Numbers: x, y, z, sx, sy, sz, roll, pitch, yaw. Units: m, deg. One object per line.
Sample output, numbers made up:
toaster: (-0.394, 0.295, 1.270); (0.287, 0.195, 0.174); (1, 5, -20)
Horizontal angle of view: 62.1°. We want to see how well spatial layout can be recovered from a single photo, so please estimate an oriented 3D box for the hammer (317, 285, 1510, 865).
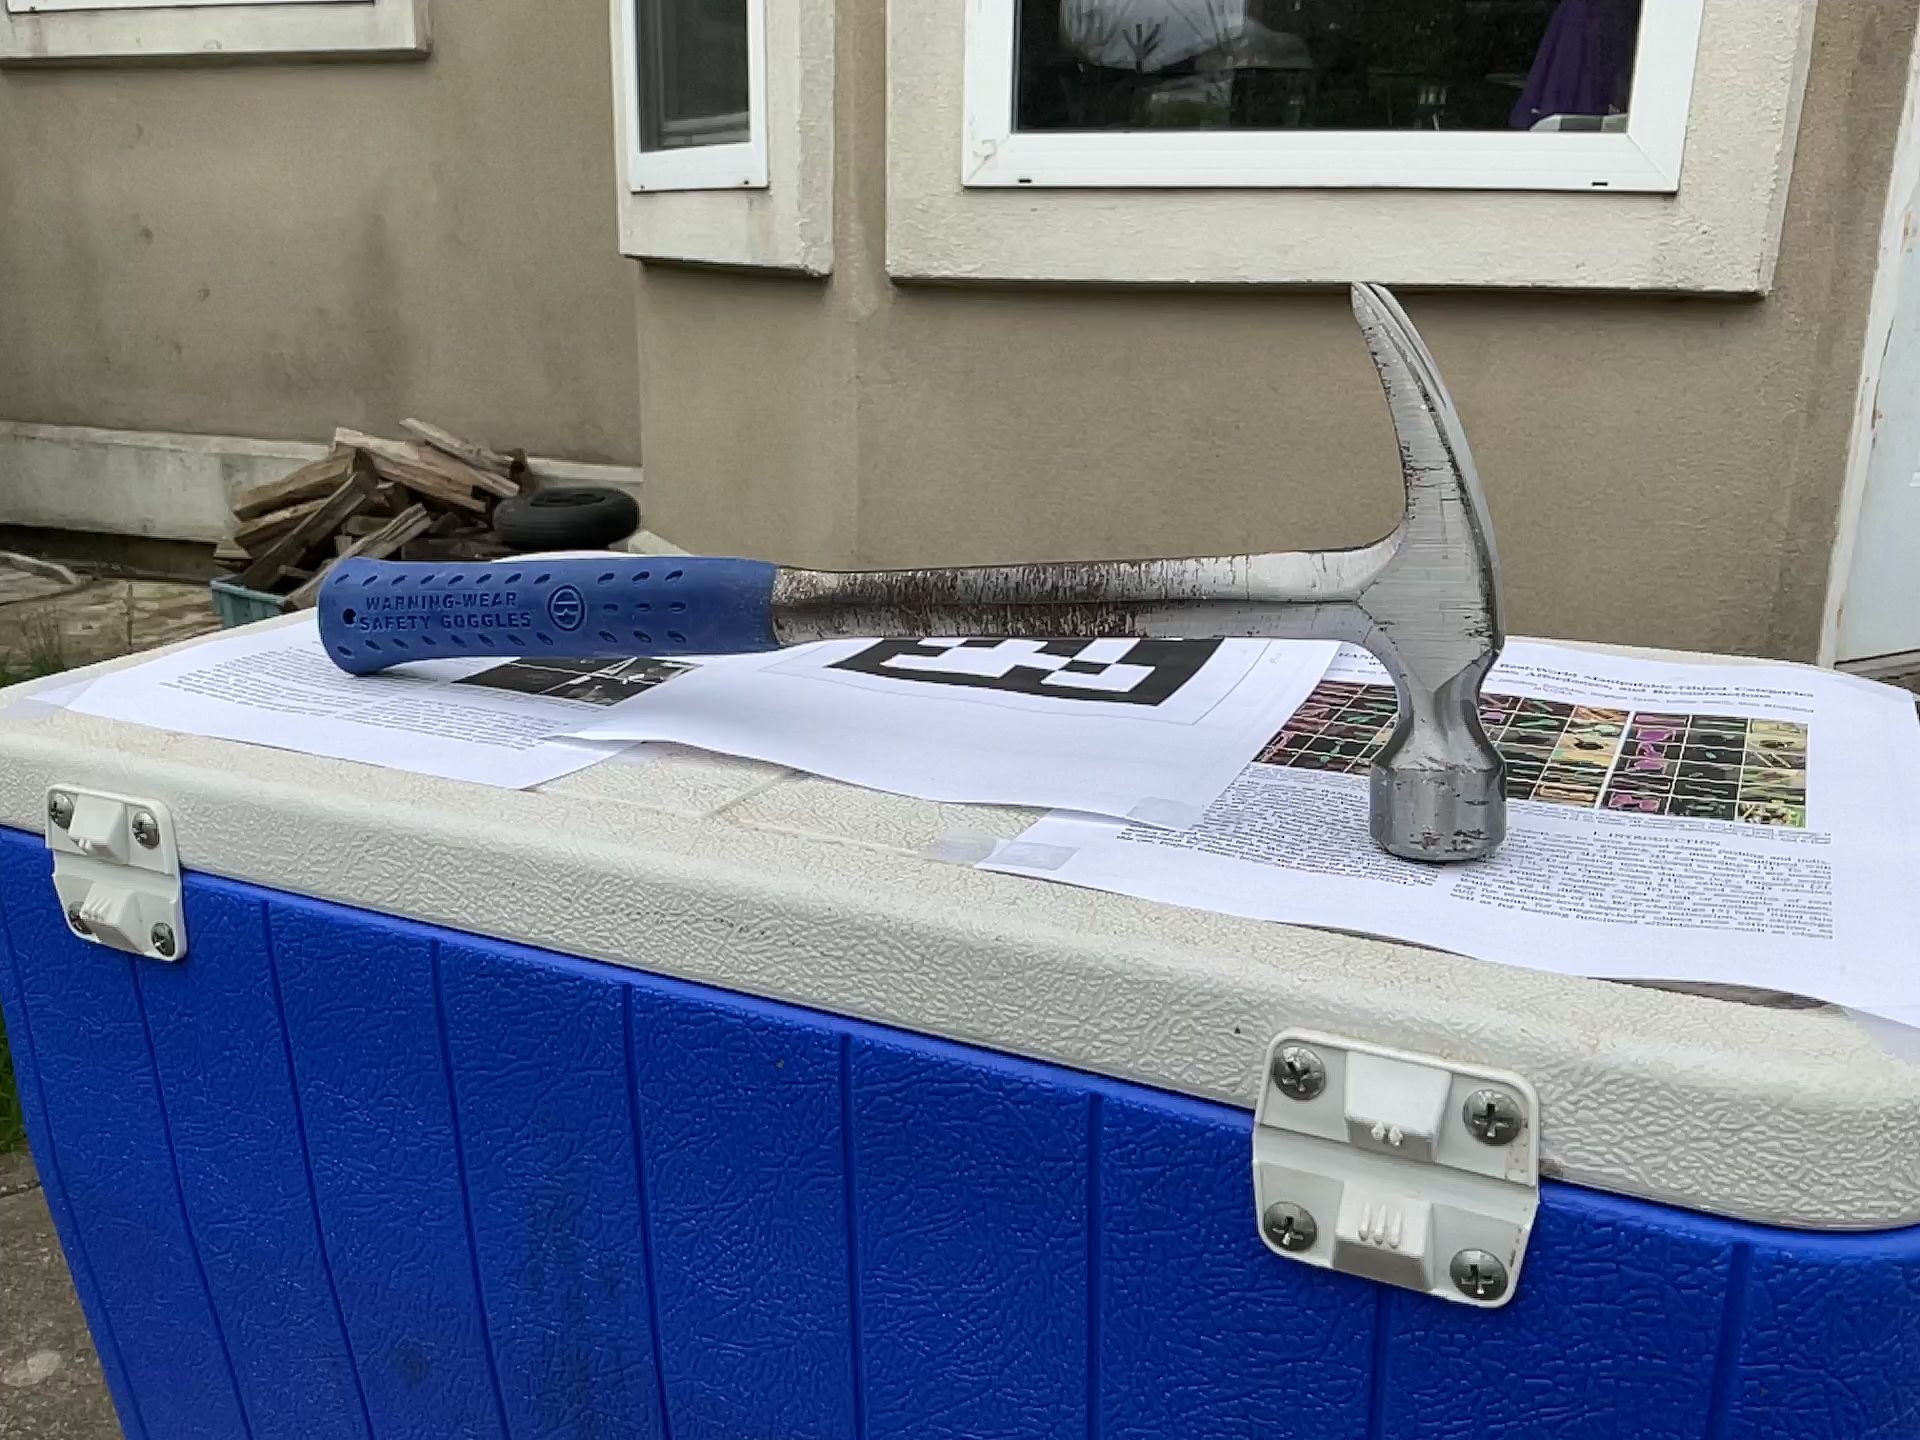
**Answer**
hammer: (-0.044, -0.039, 0.489); (0.405, 0.144, 0.035); (1, 10, 28)
